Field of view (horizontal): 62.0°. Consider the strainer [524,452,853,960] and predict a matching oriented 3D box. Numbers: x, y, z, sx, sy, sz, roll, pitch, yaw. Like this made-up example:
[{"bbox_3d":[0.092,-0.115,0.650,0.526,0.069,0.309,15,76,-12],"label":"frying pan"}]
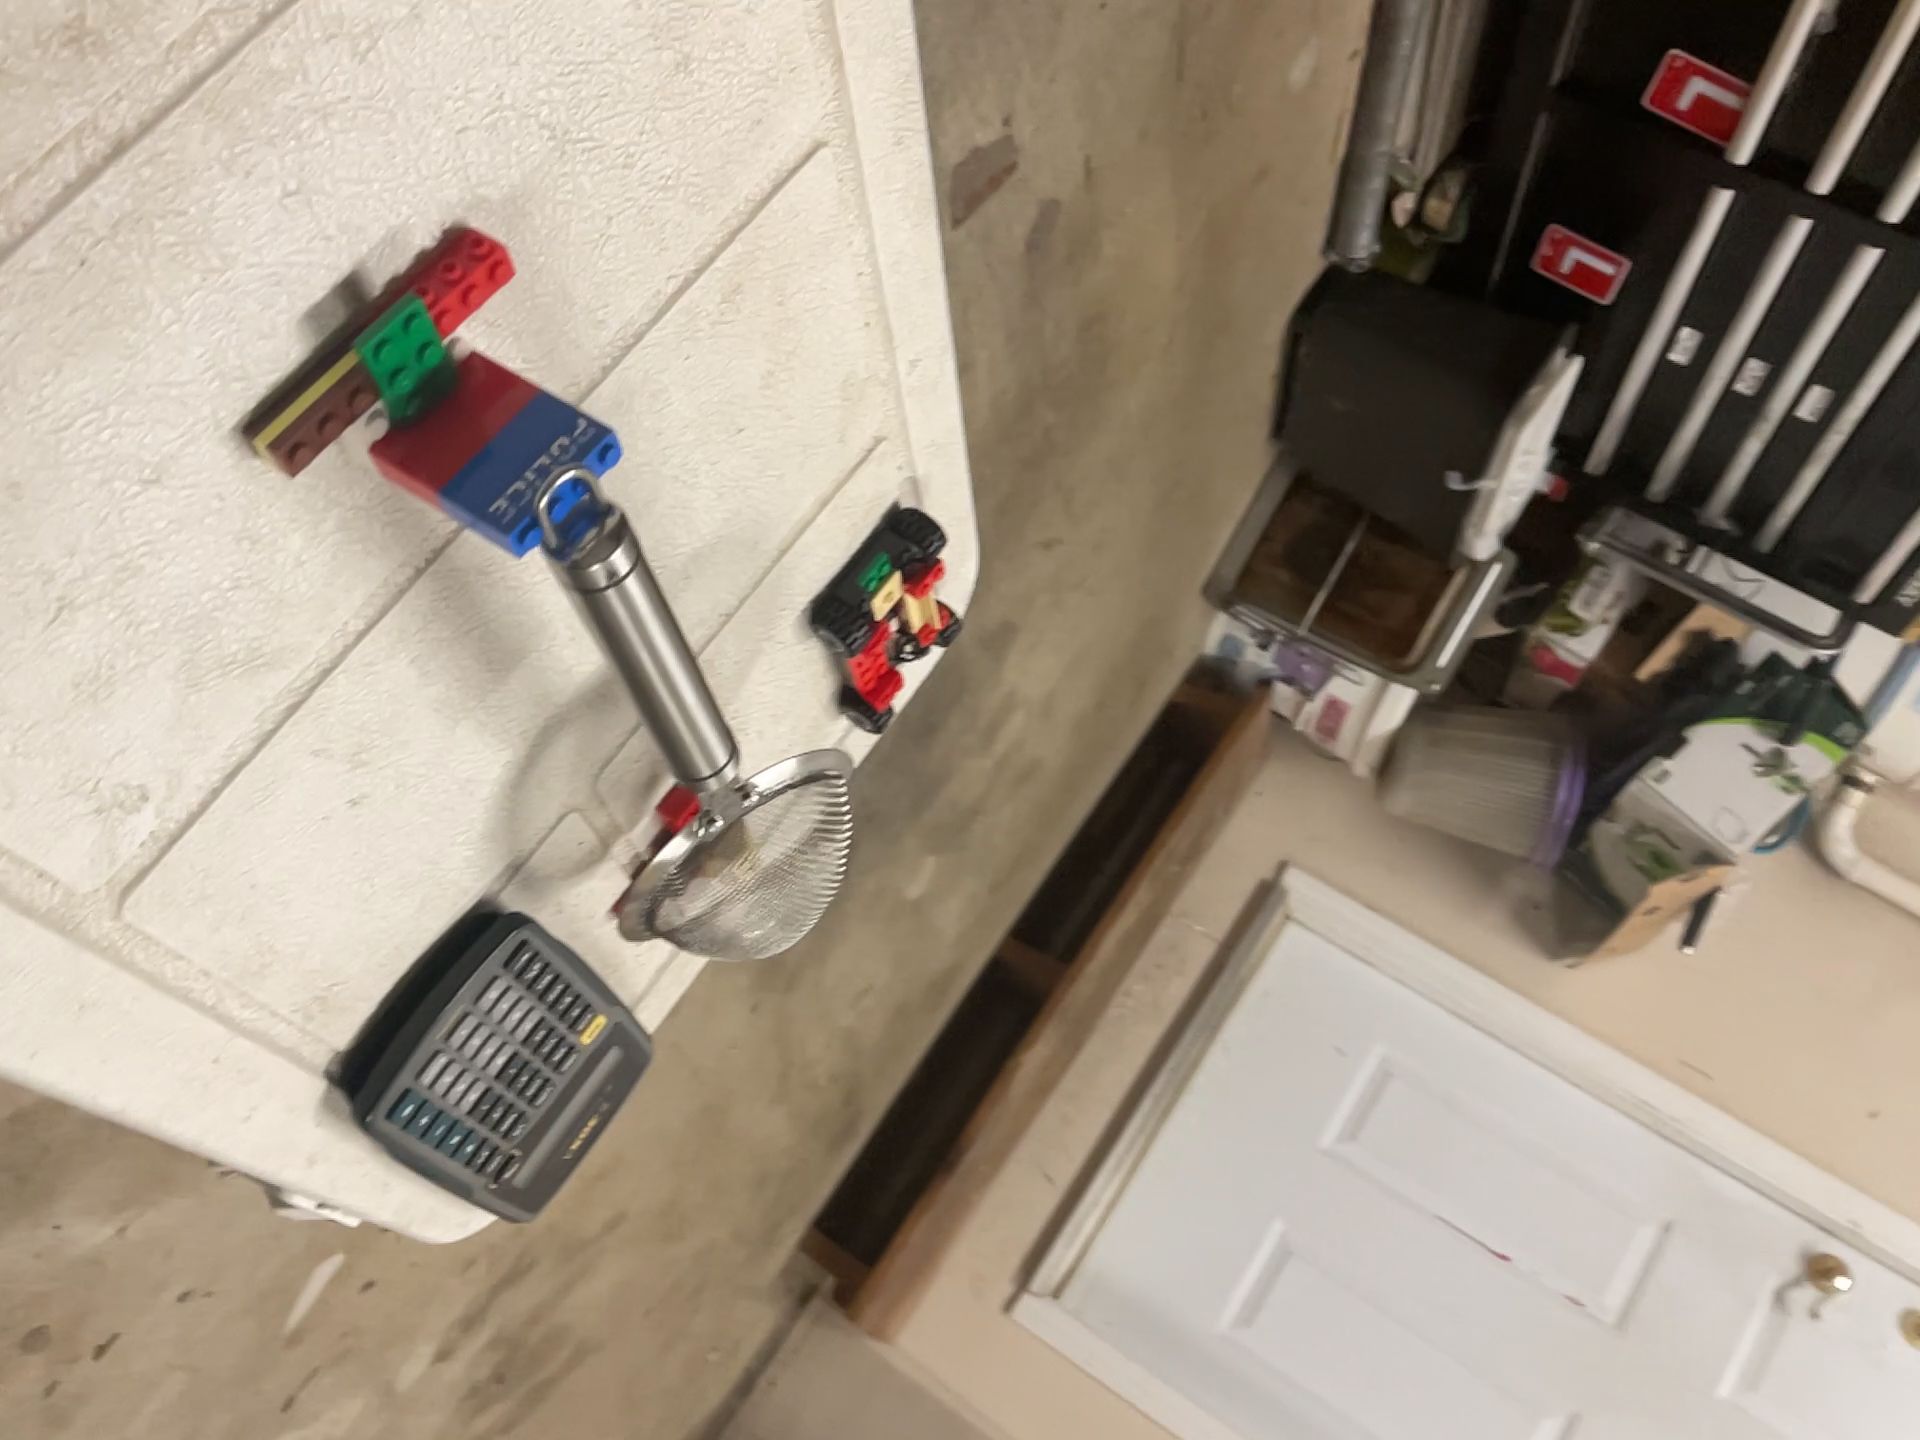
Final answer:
[{"bbox_3d":[-0.067,0.013,0.416,0.087,0.050,0.258,-37,155,-13],"label":"strainer"}]
